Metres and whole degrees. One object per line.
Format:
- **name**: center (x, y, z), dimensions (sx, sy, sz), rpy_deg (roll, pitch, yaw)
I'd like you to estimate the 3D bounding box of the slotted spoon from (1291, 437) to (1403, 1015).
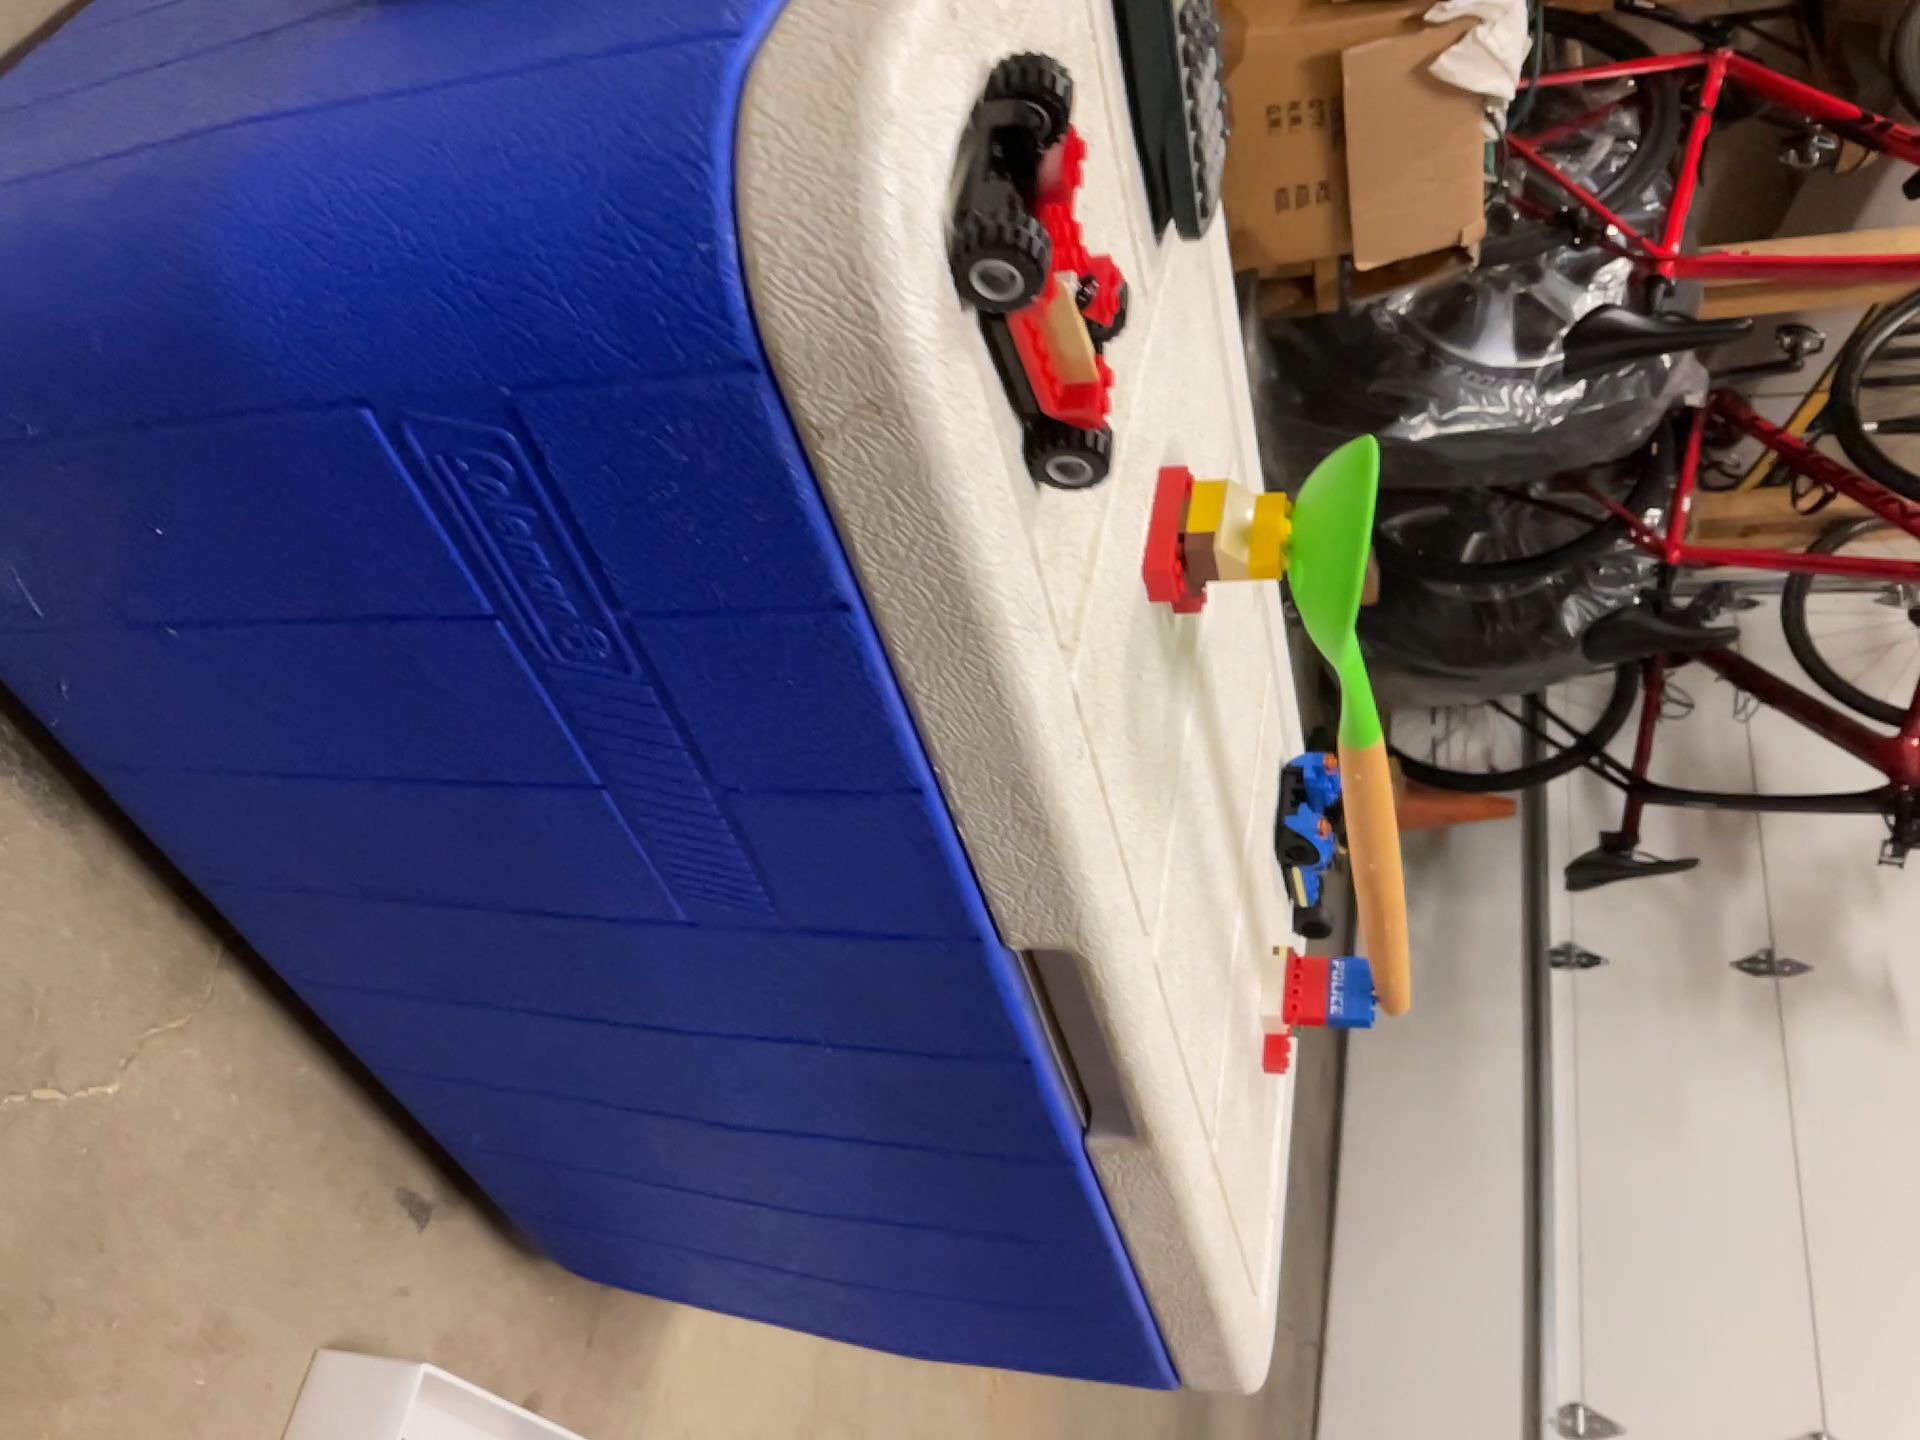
- **slotted spoon**: center (0.152, 0.024, 0.602), dimensions (0.313, 0.031, 0.070), rpy_deg (70, 24, -45)
